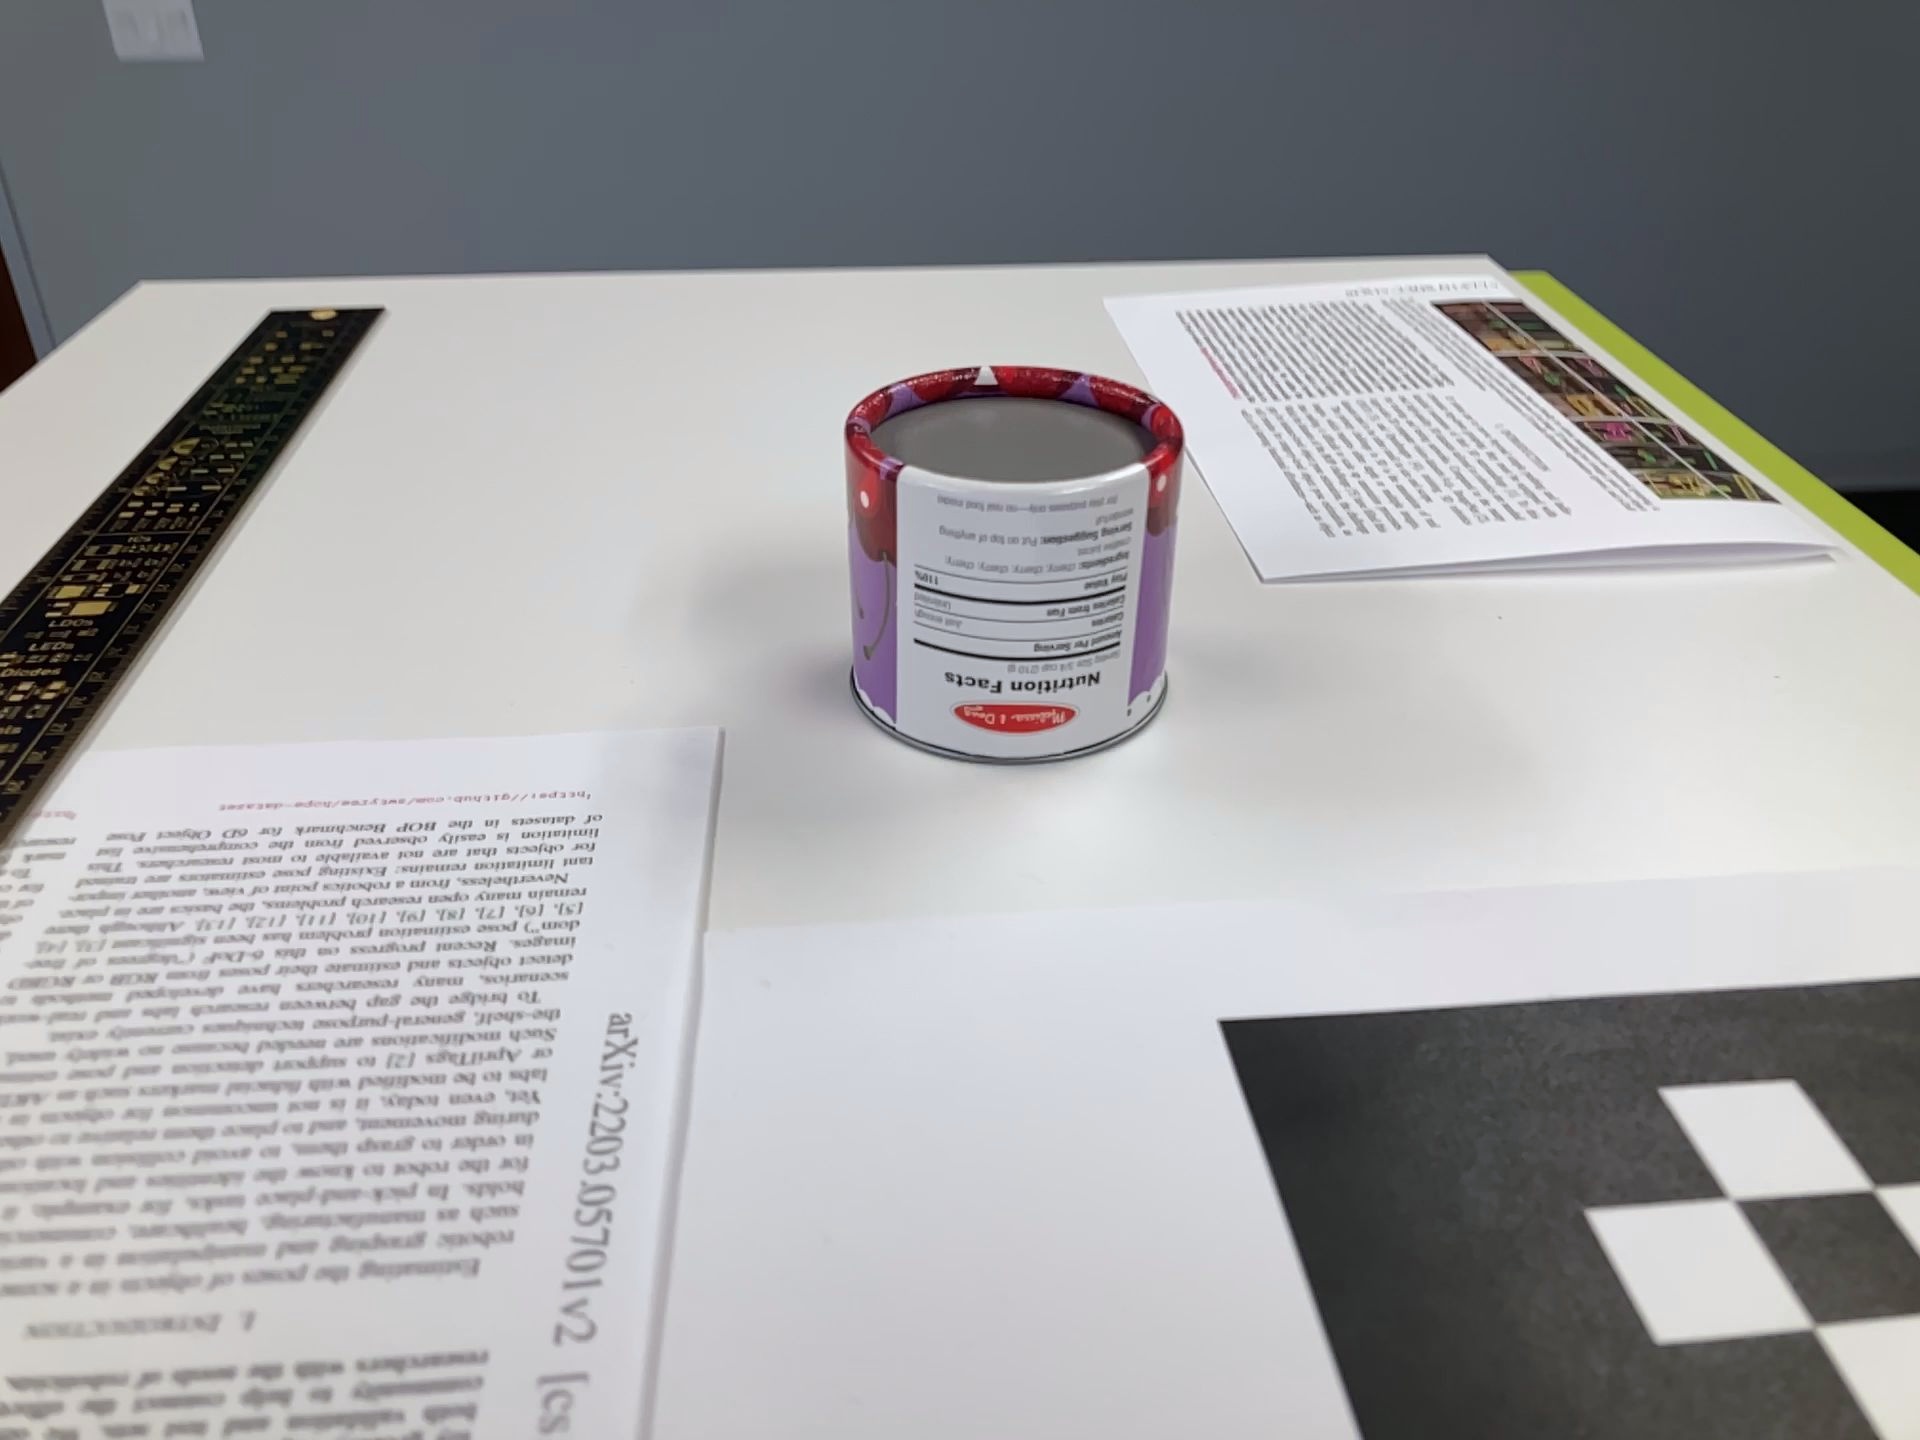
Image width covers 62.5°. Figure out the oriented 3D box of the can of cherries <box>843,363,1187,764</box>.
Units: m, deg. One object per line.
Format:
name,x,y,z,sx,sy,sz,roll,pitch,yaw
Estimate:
can of cherries,0.010,-0.034,0.316,0.071,0.058,0.071,0,31,0
